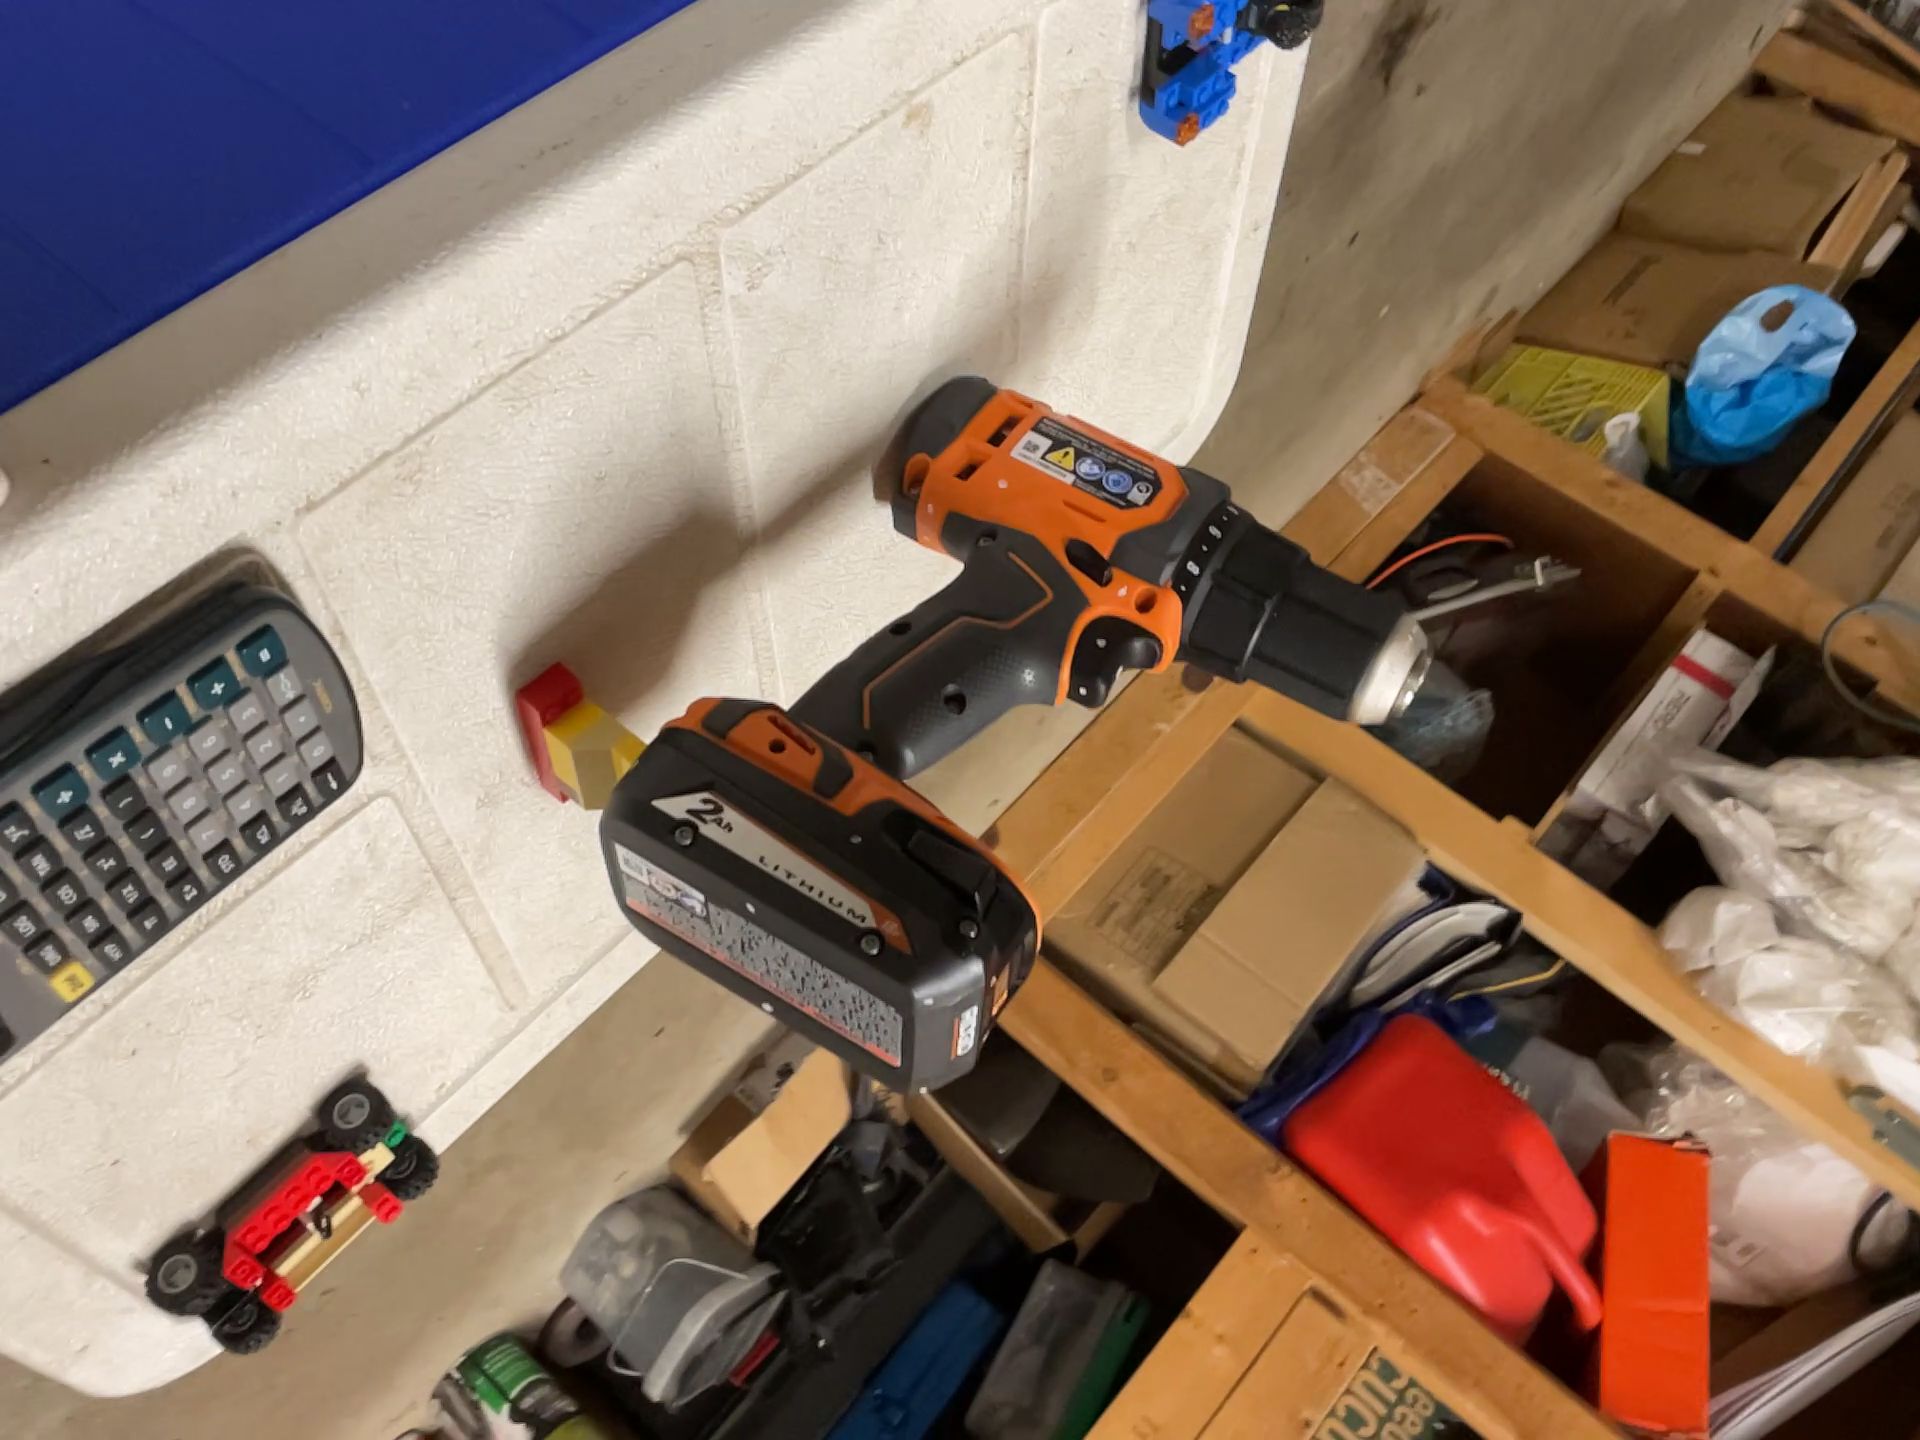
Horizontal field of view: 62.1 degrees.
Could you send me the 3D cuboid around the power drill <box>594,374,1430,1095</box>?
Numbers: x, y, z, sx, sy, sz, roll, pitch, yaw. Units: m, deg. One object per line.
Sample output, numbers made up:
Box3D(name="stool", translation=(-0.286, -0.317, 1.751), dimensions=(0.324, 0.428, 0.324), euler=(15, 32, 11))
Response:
Box3D(name="power drill", translation=(0.024, 0.001, 0.489), dimensions=(0.226, 0.185, 0.084), euler=(-52, 163, -32))
